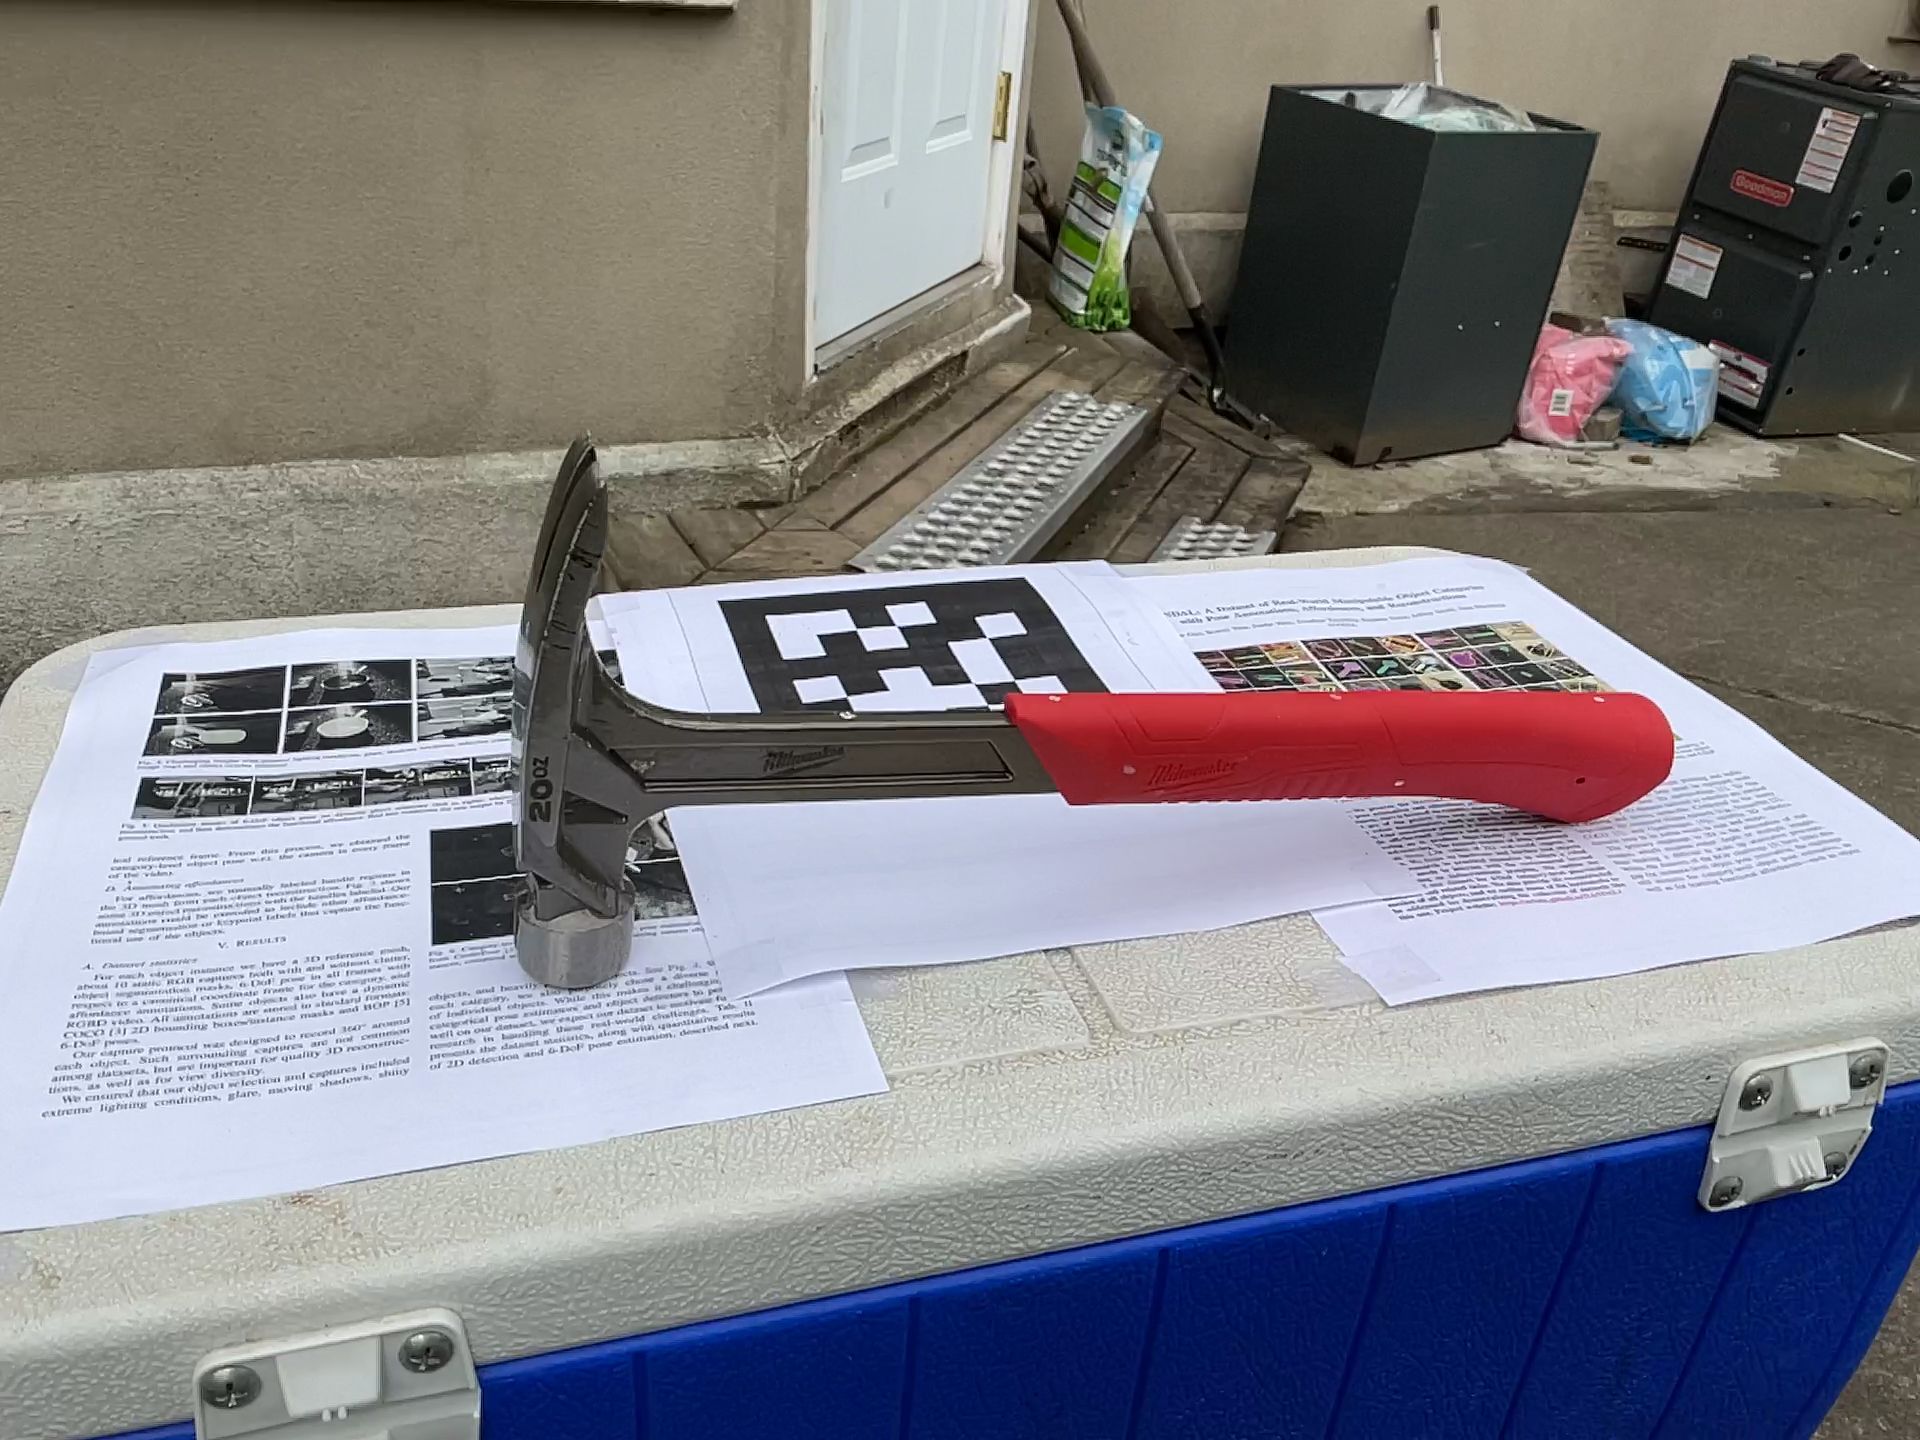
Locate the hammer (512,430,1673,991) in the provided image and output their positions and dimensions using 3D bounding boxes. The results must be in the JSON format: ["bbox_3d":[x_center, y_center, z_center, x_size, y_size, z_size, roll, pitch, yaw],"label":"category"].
[{"bbox_3d":[0.058,0.001,0.456,0.359,0.149,0.037,-1,34,-22],"label":"hammer"}]
